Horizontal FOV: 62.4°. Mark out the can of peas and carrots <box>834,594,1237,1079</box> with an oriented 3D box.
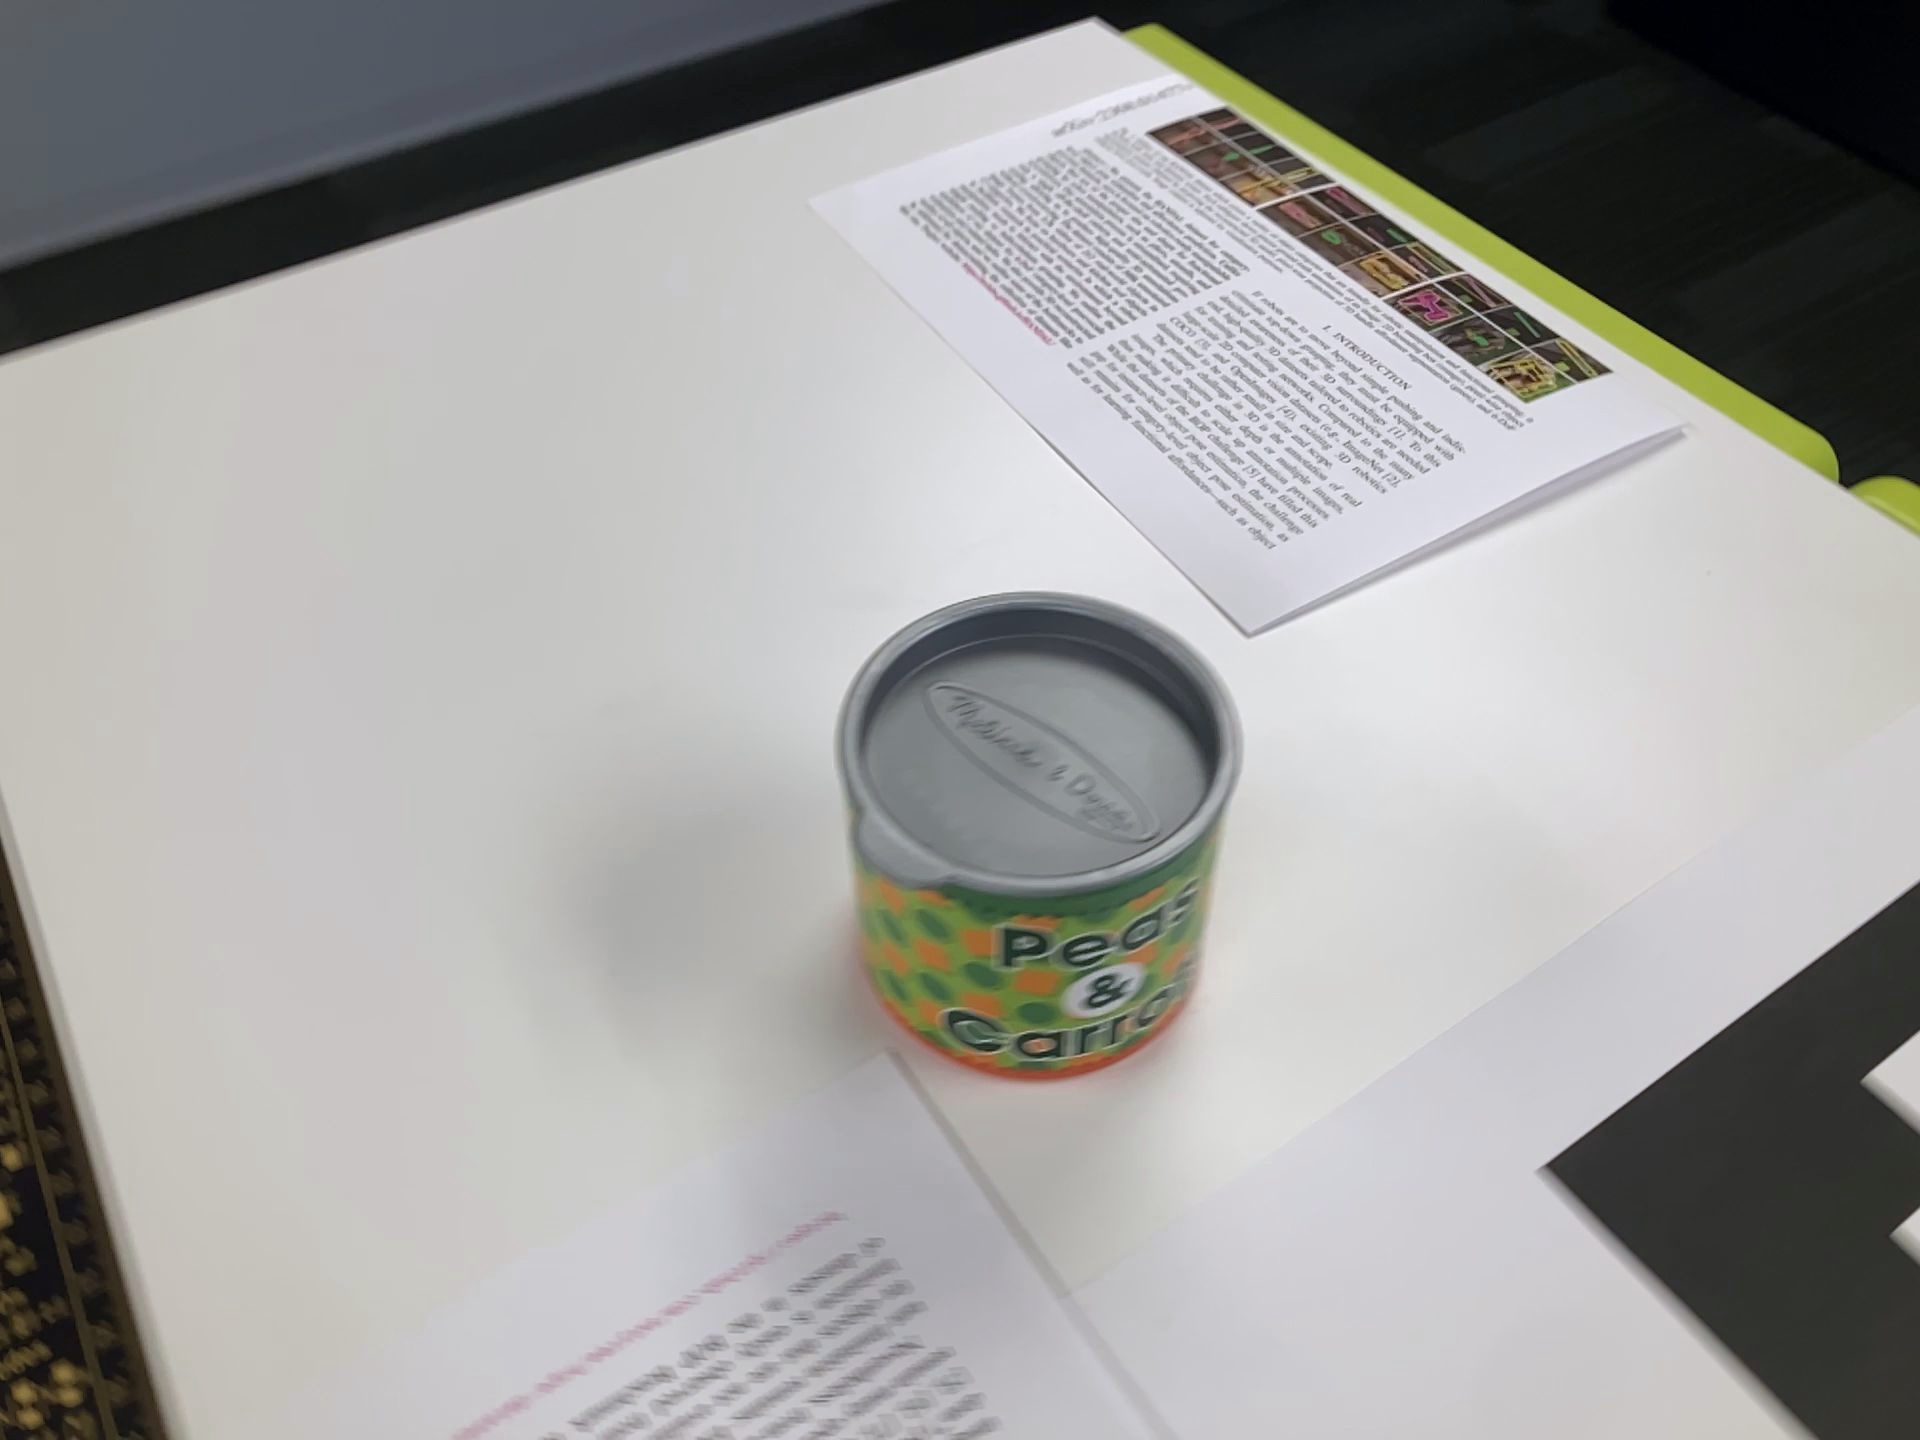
[{"bbox_3d":[0.013,0.022,0.280,0.071,0.059,0.071,0,48,0],"label":"can of peas and carrots"}]
